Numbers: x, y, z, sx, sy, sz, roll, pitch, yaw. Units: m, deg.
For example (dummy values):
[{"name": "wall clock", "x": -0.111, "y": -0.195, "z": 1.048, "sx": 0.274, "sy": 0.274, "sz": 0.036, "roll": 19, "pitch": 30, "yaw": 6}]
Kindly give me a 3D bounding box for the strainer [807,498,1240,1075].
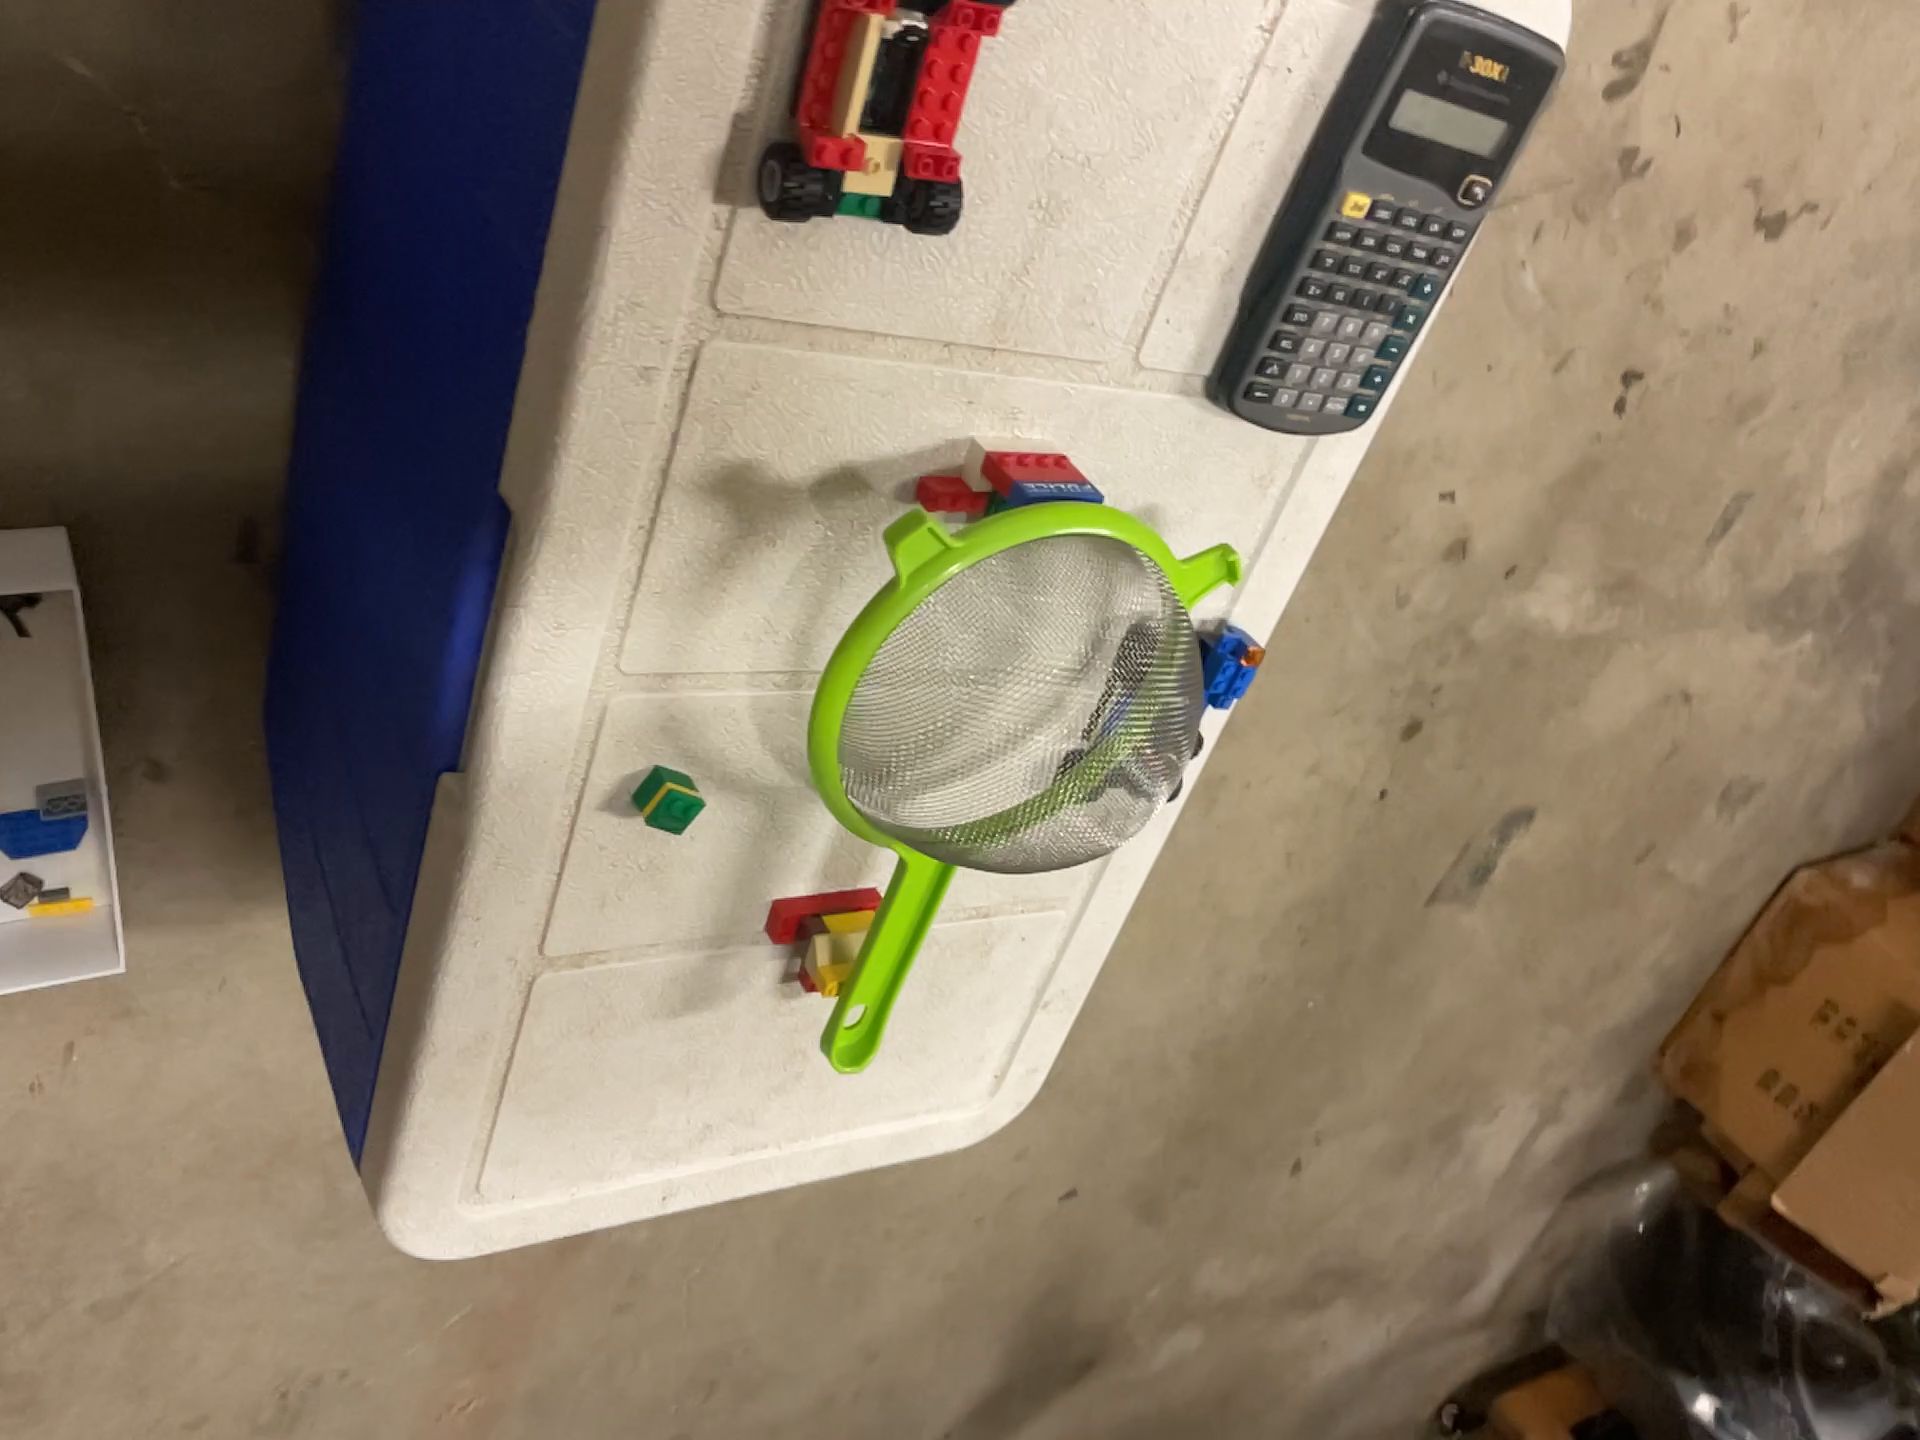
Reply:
[{"name": "strainer", "x": 0.010, "y": 0.047, "z": 0.569, "sx": 0.151, "sy": 0.069, "sz": 0.256, "roll": 0, "pitch": 125, "yaw": -37}]
